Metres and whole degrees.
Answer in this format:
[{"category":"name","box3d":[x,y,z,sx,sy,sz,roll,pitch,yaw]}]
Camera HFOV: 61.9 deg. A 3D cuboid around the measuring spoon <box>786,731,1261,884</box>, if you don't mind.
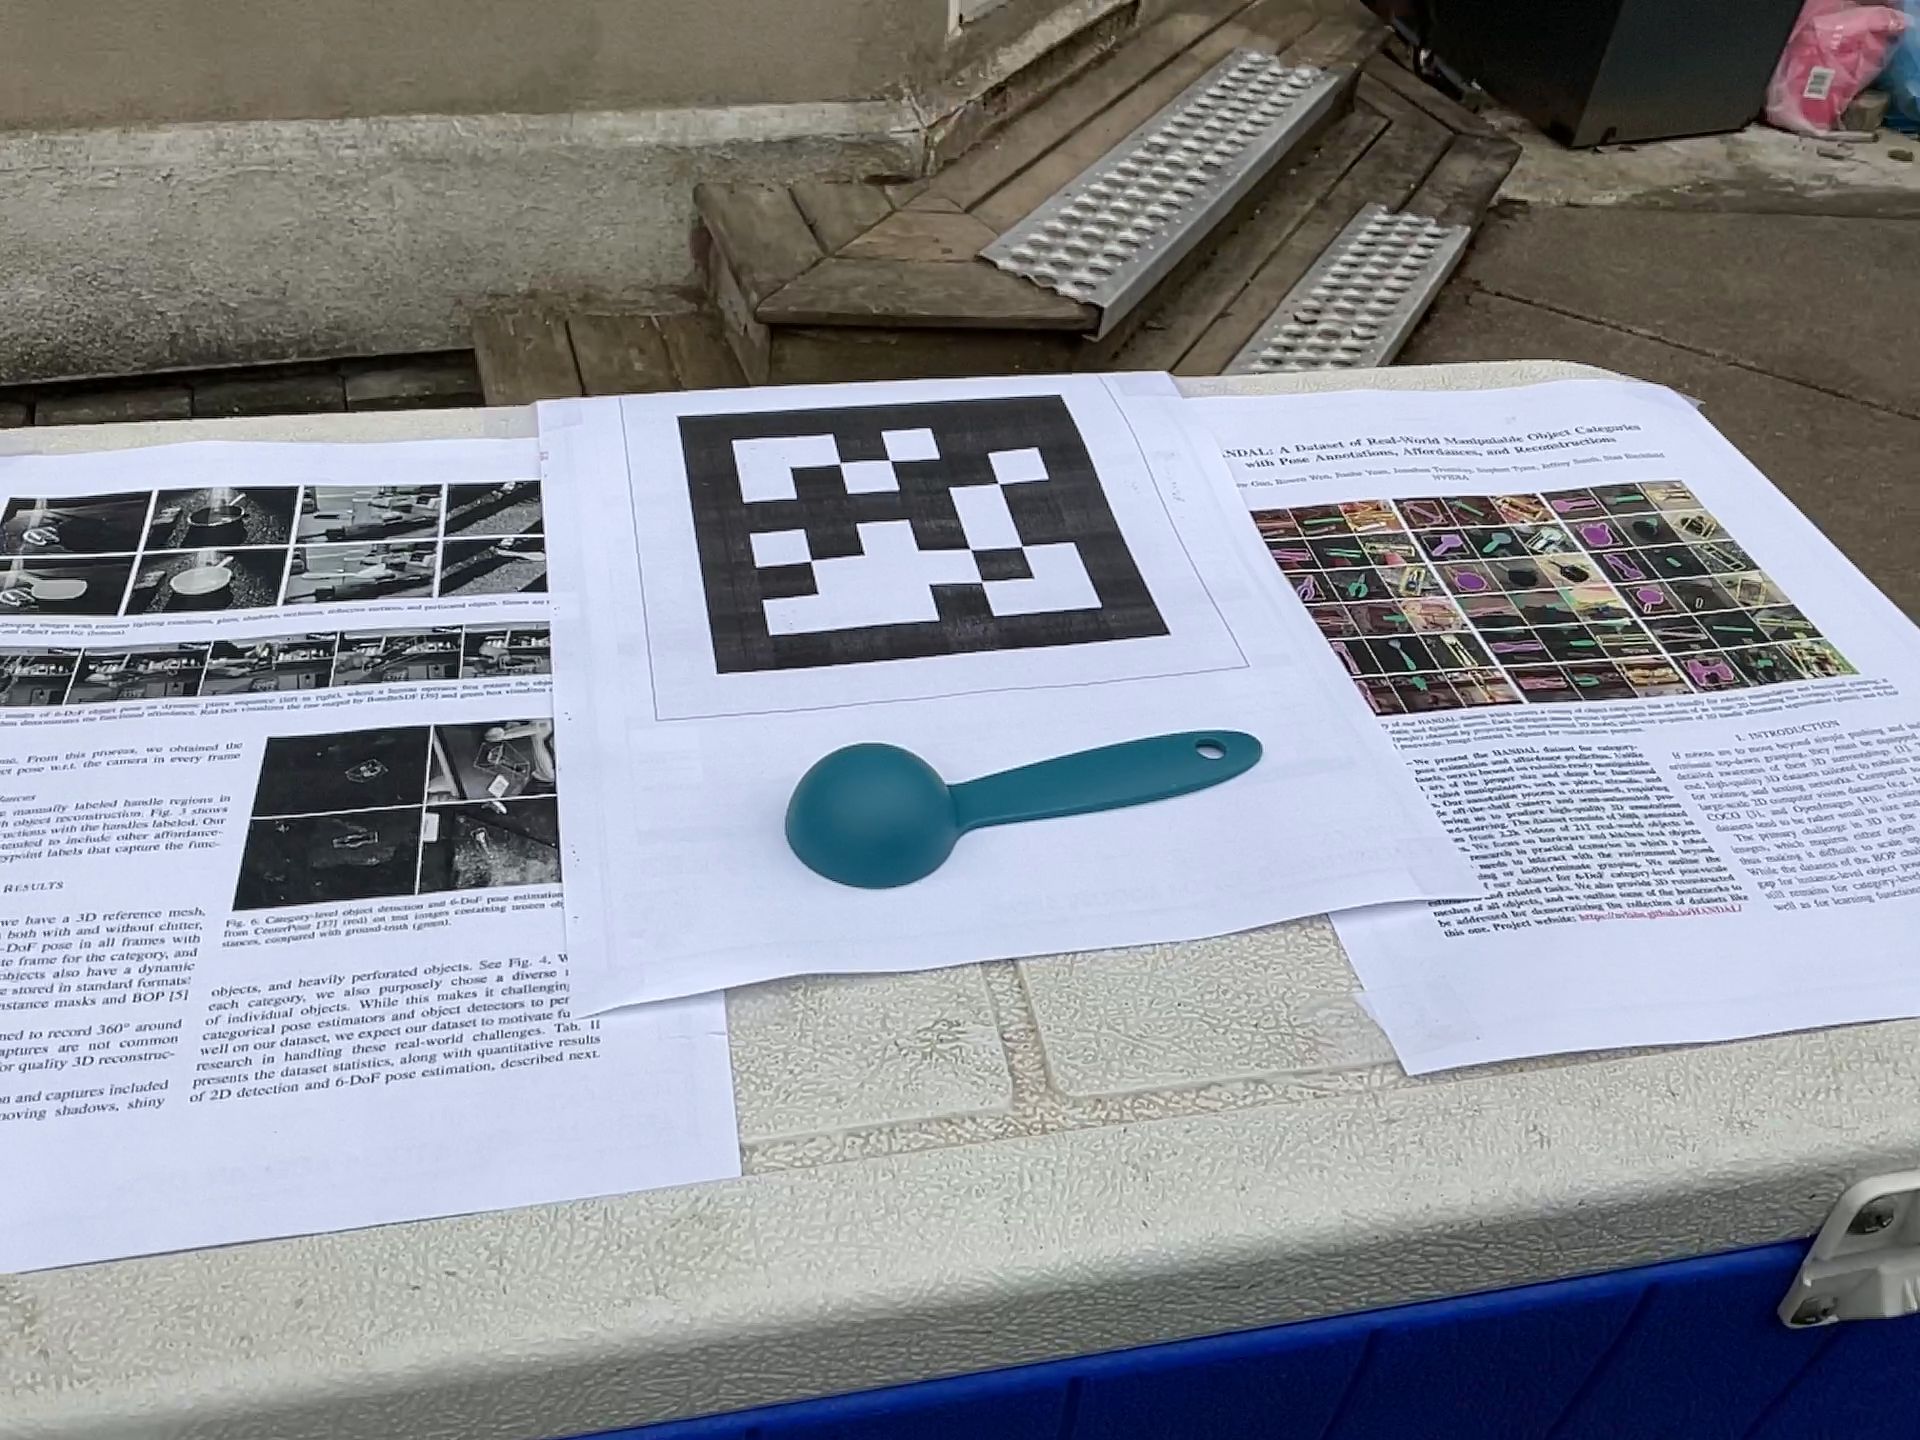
[{"category":"measuring spoon","box3d":[0.019,0.011,0.402,0.128,0.021,0.042,-11,38,-17]}]
